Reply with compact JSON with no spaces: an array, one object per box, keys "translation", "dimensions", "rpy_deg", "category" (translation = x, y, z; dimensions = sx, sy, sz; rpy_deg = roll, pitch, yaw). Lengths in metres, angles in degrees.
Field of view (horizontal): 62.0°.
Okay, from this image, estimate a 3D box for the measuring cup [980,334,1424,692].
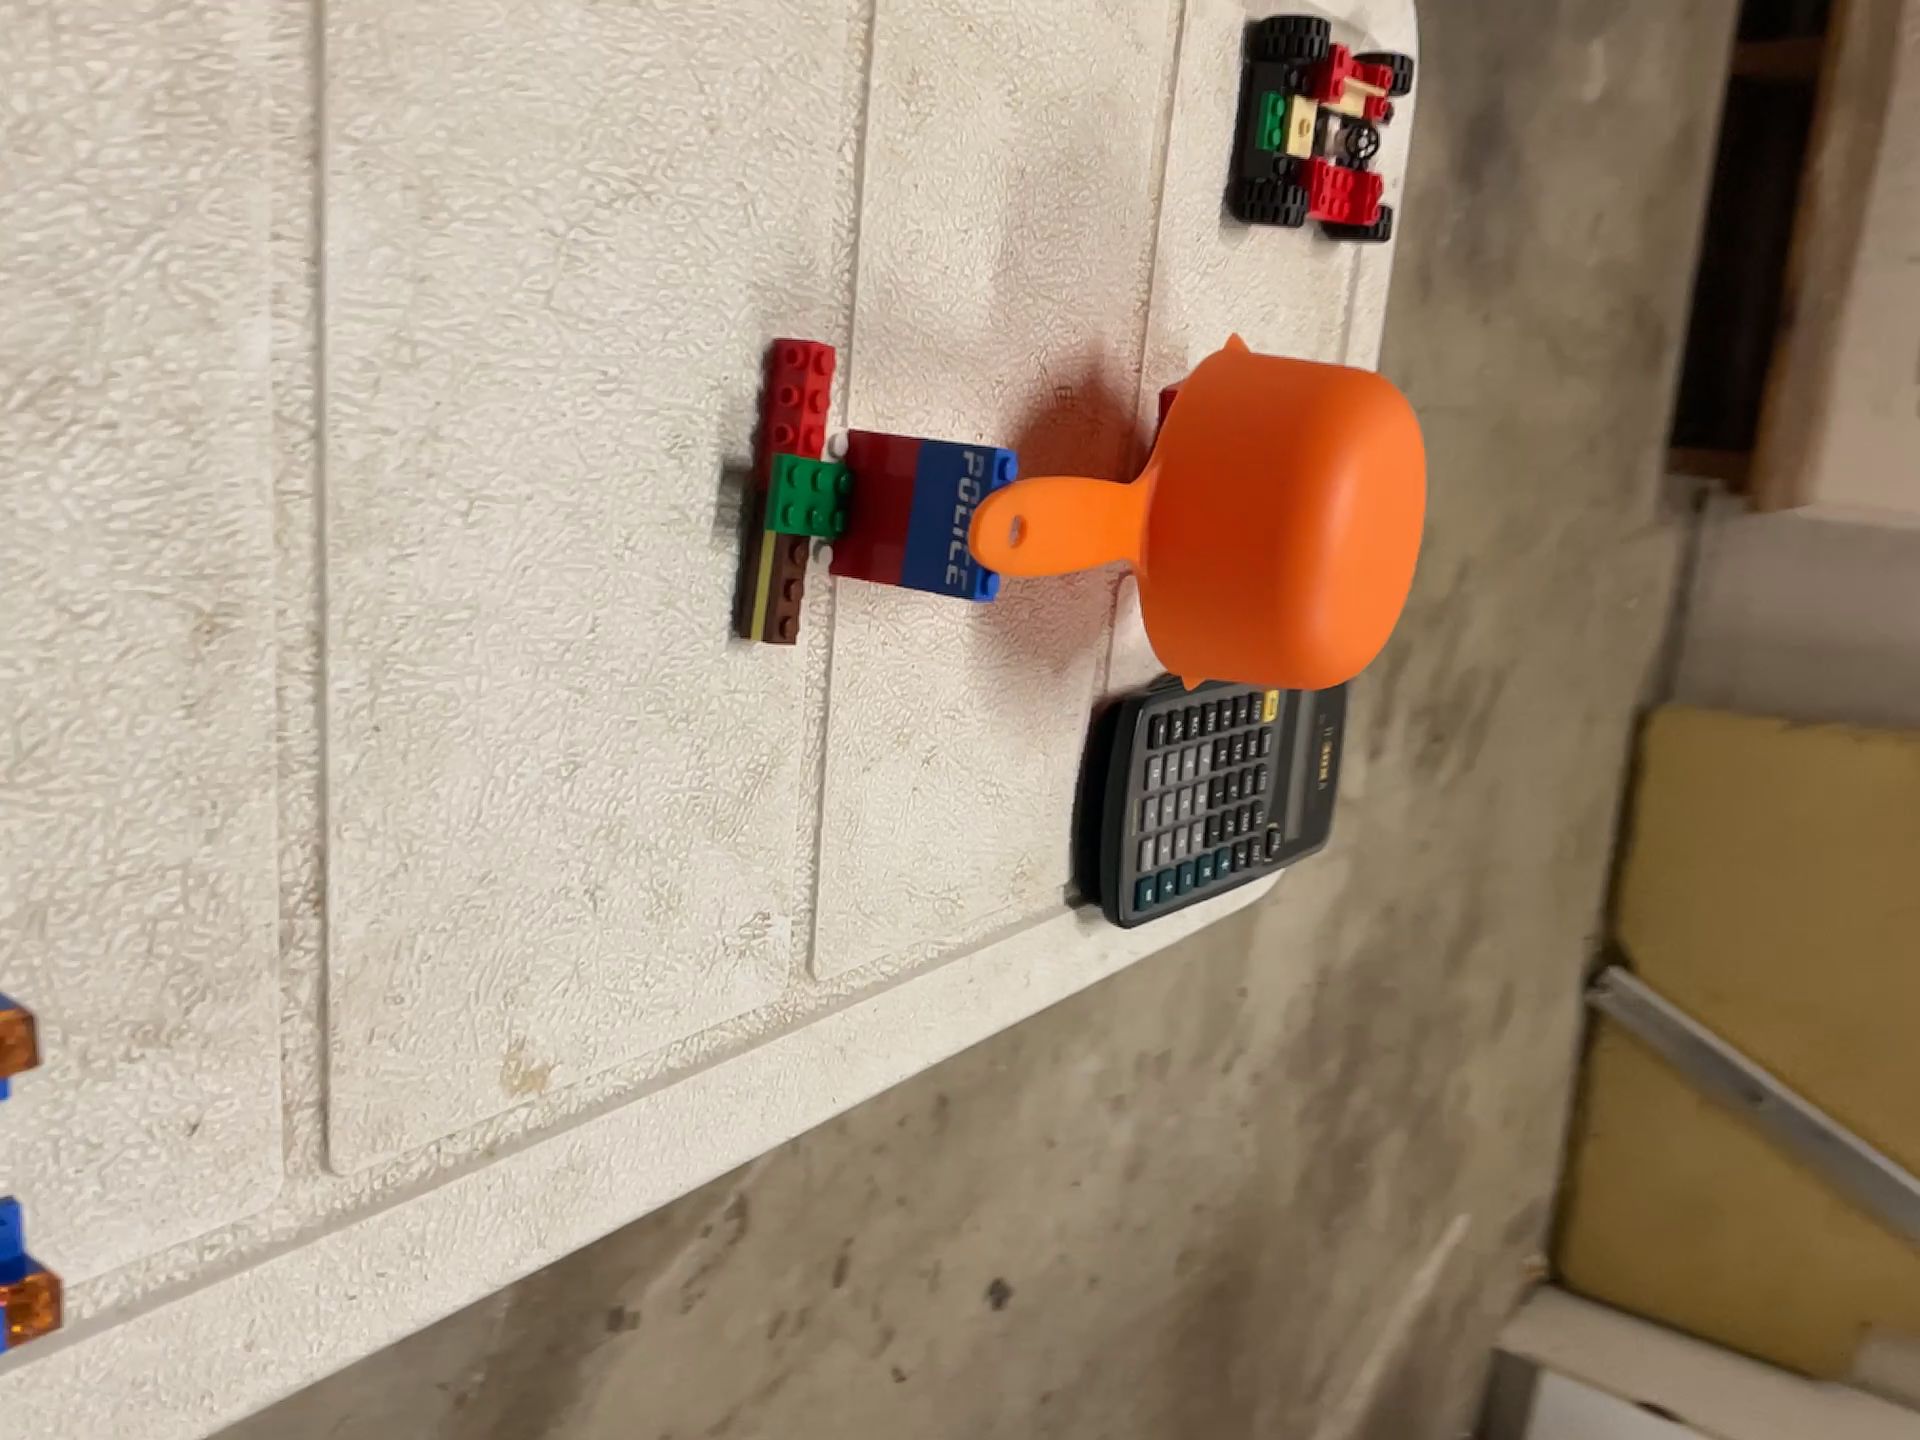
[{"translation":[0.066,-0.046,0.382],"dimensions":[0.173,0.052,0.095],"rpy_deg":[-14,112,-59],"category":"measuring cup"}]
